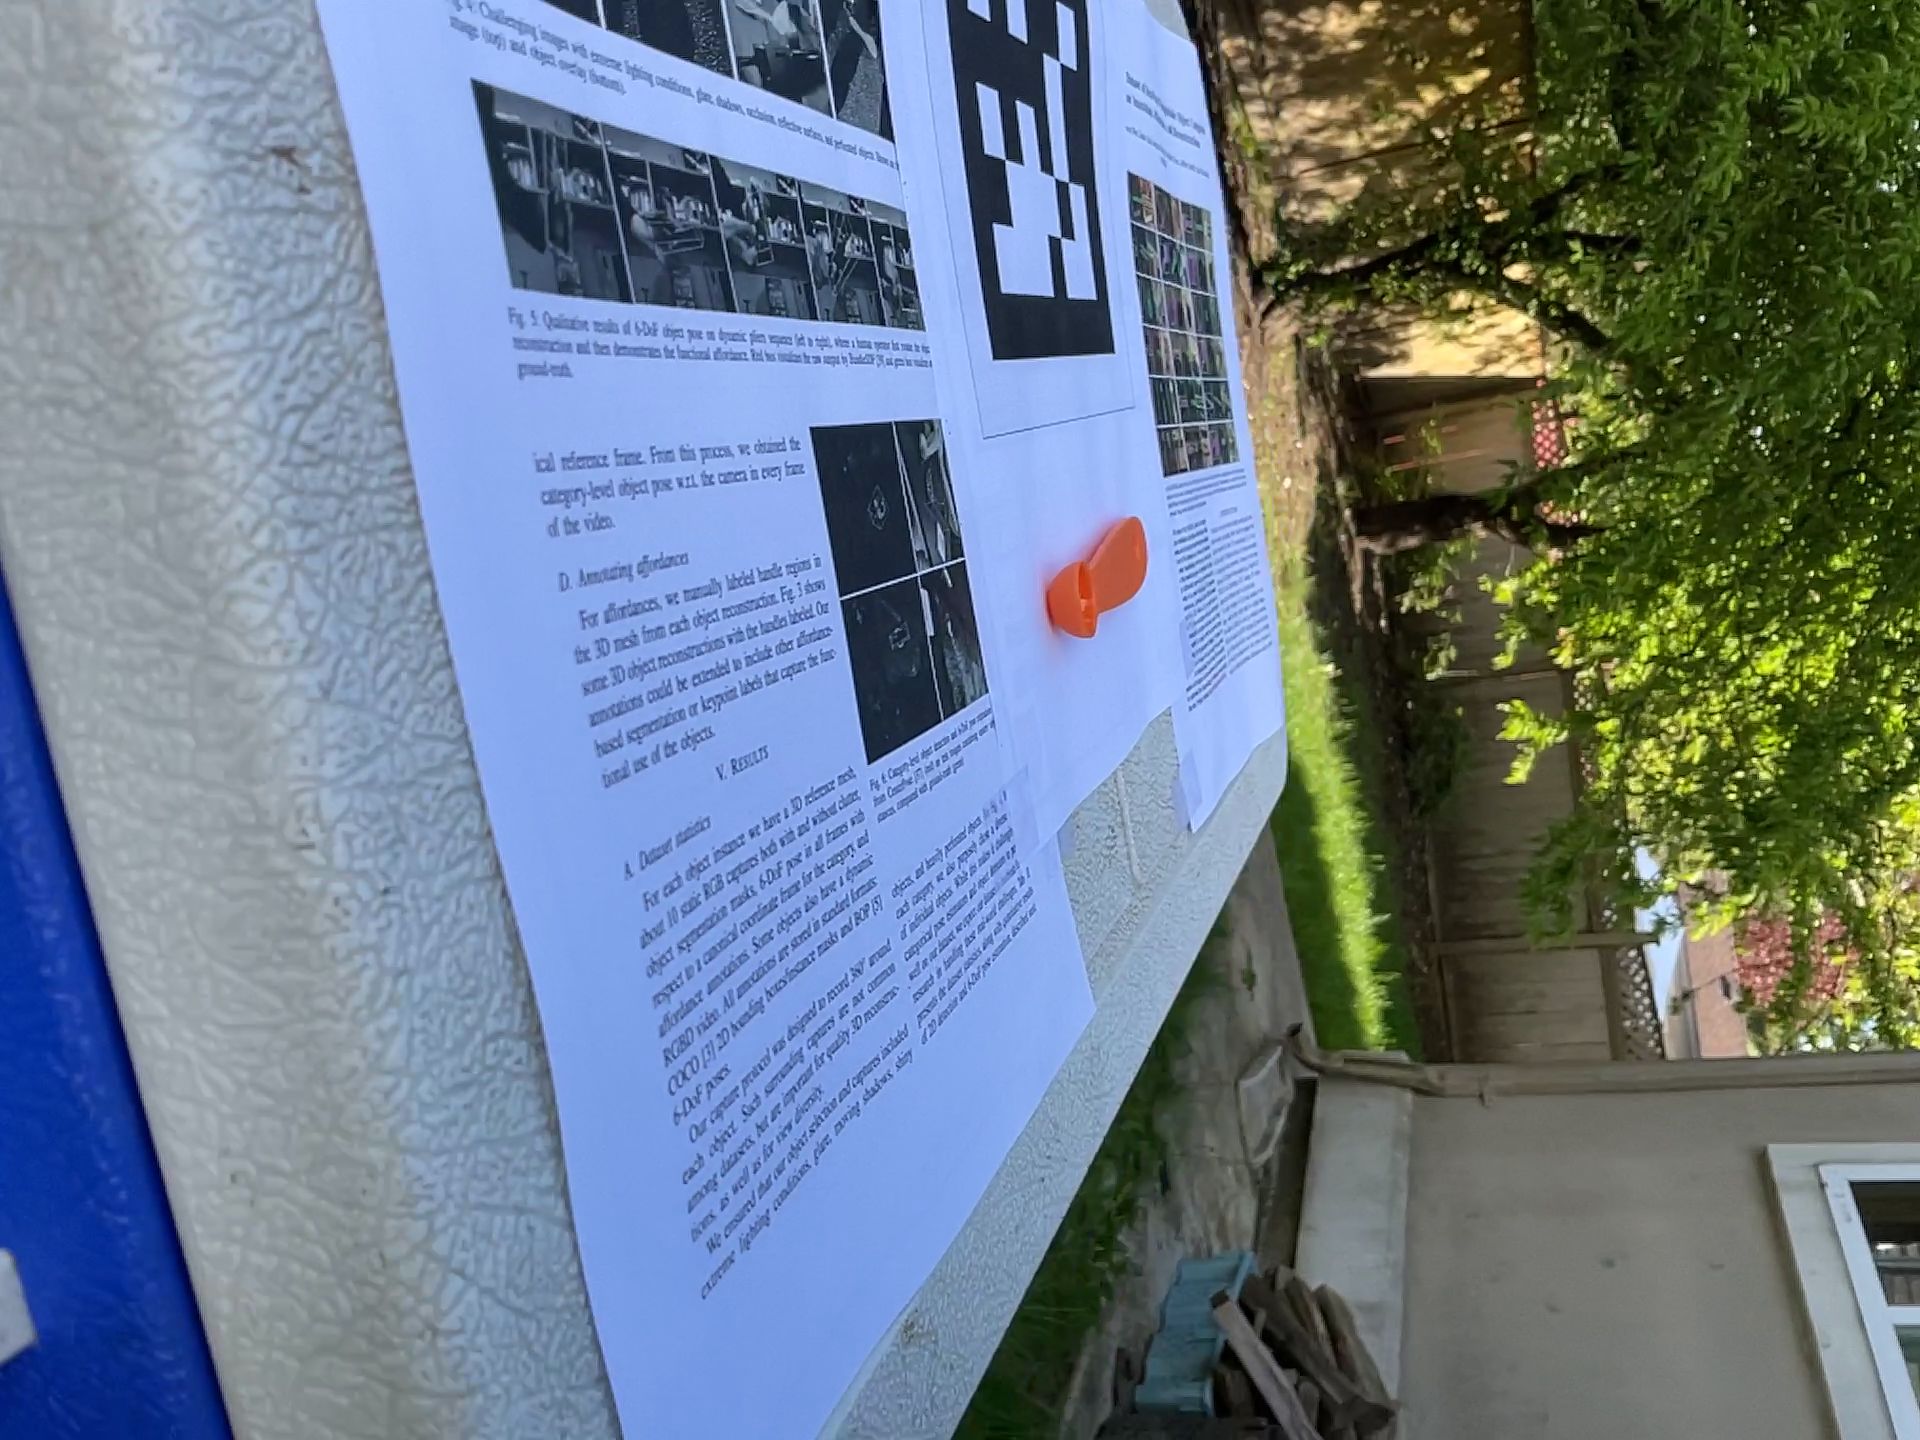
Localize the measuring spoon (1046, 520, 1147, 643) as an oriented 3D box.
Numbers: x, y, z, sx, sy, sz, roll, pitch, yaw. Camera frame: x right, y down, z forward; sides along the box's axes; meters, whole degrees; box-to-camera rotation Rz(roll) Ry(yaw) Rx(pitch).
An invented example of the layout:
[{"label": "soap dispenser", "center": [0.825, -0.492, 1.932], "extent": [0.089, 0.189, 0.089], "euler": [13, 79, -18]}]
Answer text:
[{"label": "measuring spoon", "center": [0.039, -0.040, 0.440], "extent": [0.117, 0.011, 0.021], "euler": [-45, 126, -70]}]
